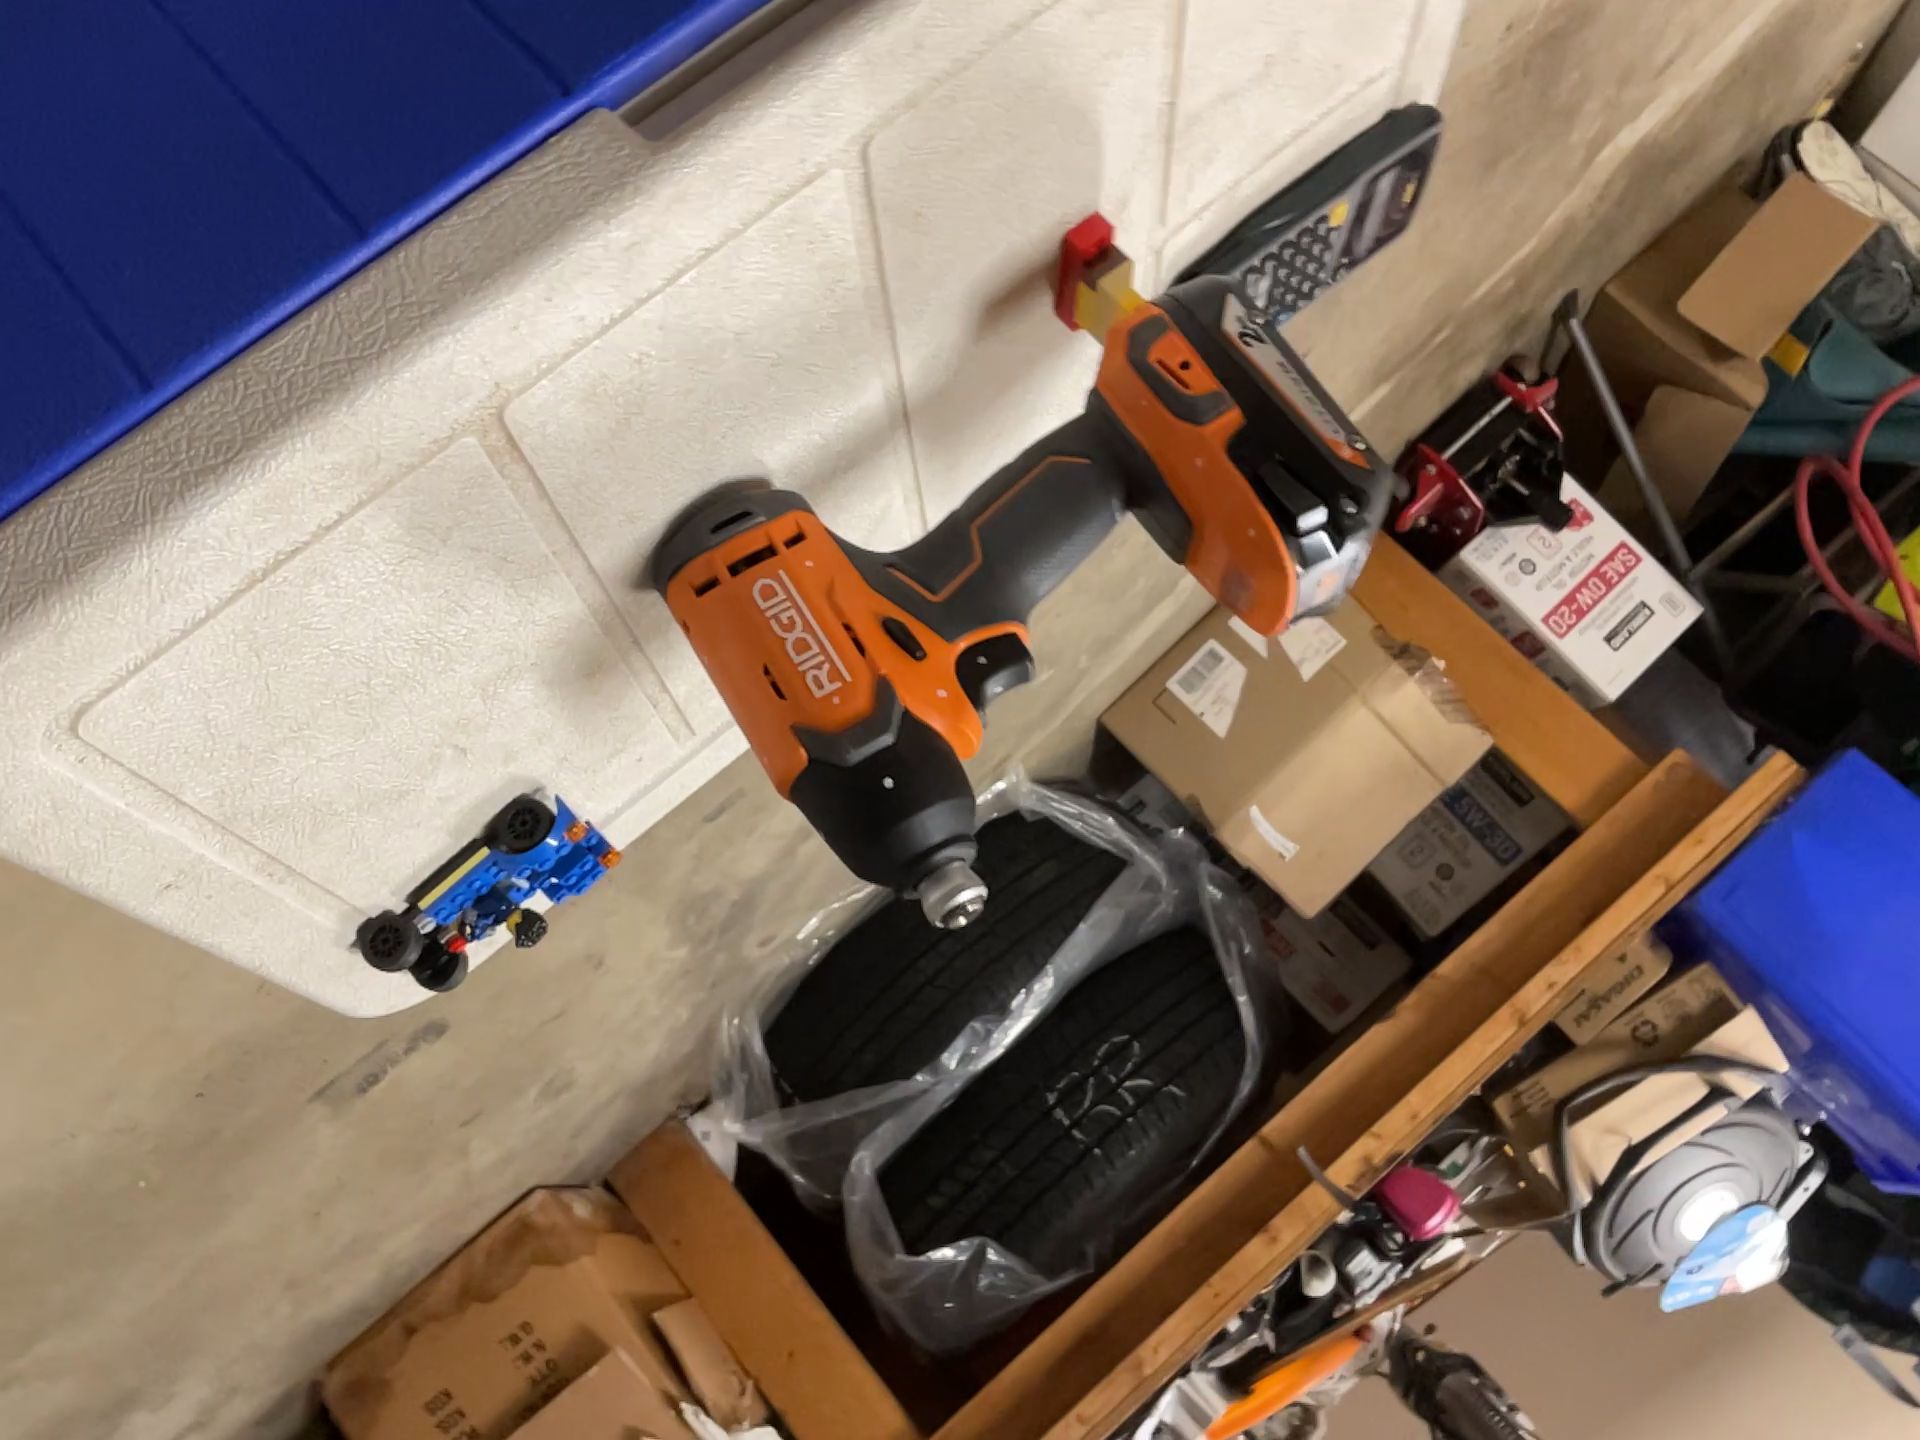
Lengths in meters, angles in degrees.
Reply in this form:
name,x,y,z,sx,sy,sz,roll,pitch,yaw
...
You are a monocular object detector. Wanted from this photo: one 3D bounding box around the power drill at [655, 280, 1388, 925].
name,x,y,z,sx,sy,sz,roll,pitch,yaw
power drill,0.030,-0.041,0.553,0.226,0.164,0.084,-28,160,-10
